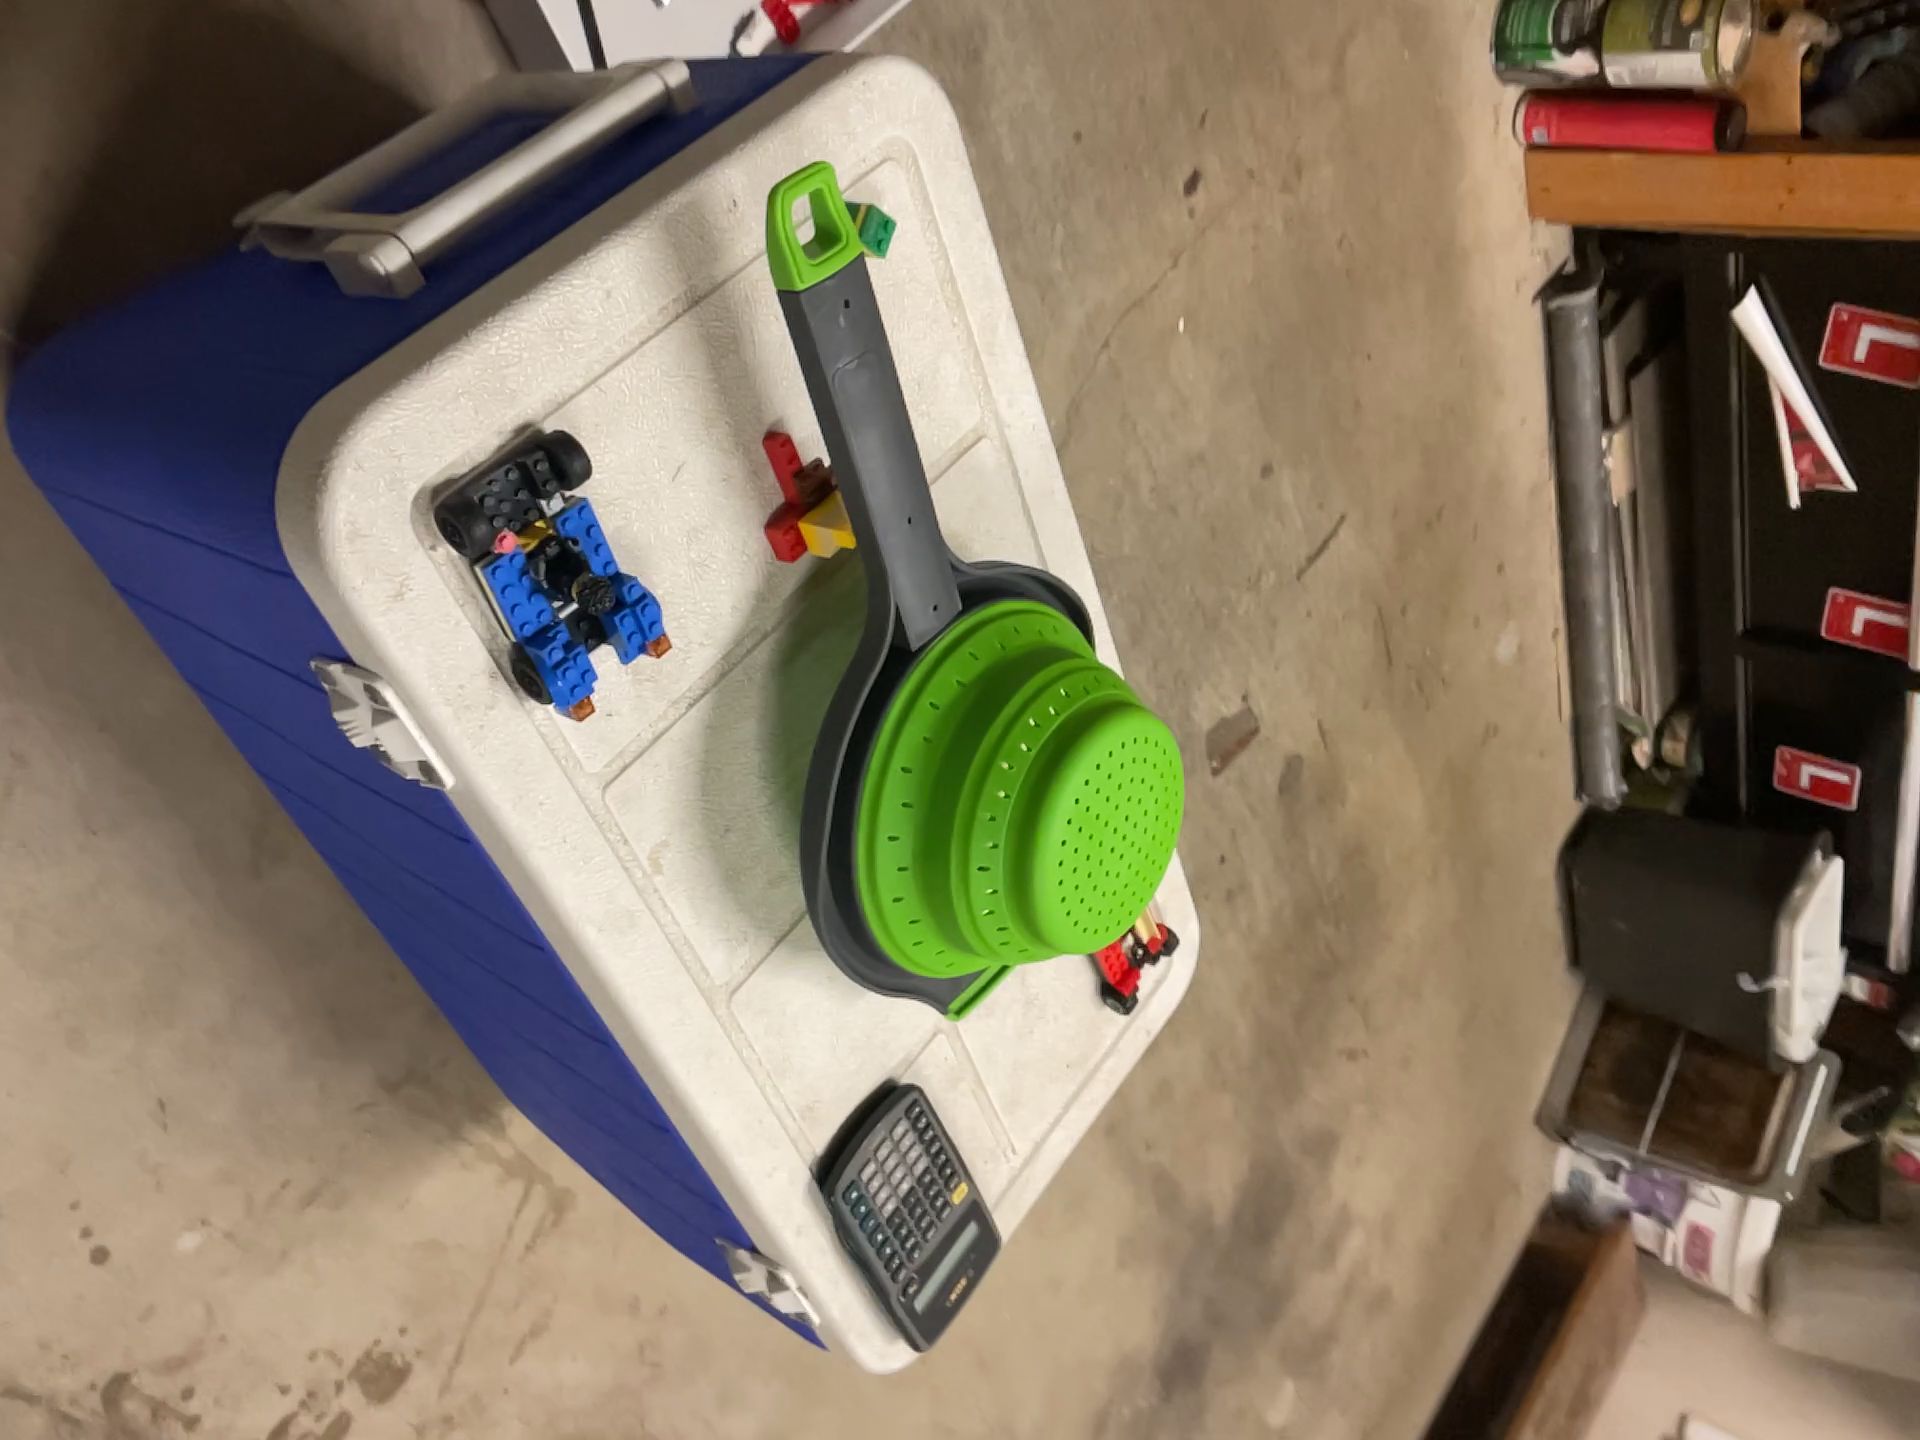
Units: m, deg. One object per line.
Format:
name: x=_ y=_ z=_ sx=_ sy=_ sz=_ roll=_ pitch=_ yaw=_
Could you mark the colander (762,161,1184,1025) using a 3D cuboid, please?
colander: x=0.013 y=-0.027 z=0.646 sx=0.205 sy=0.094 sz=0.396 roll=-43 pitch=133 yaw=-33
